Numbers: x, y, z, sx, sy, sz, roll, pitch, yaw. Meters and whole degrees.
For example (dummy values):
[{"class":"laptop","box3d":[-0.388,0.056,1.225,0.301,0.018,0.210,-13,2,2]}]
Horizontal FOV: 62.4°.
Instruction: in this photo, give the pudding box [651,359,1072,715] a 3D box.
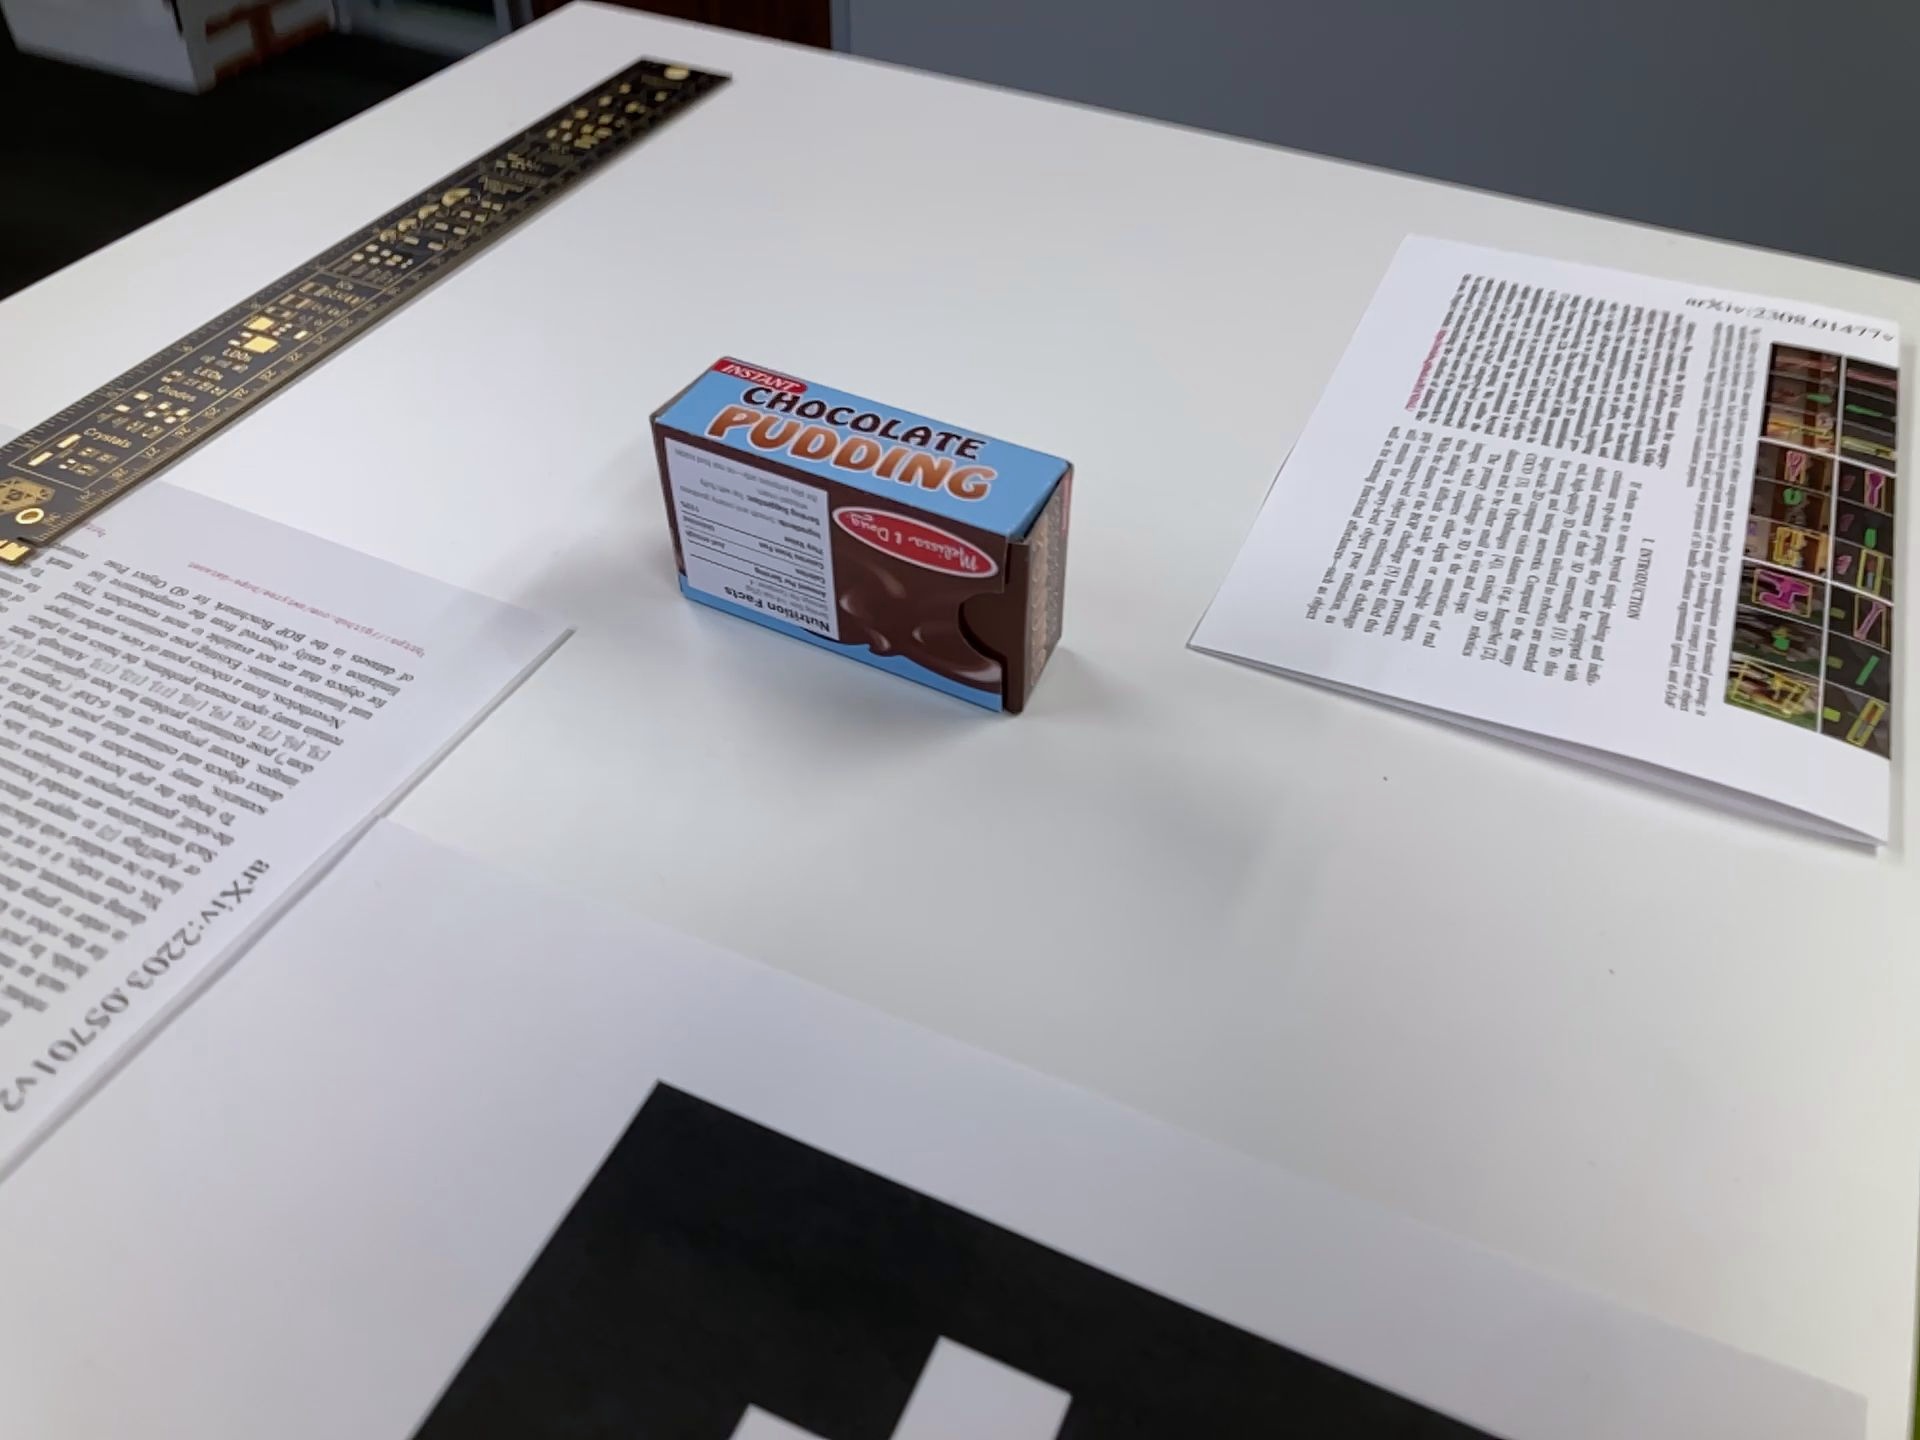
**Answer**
[{"class":"pudding box","box3d":[-0.020,-0.038,0.333,0.083,0.049,0.030,20,48,18]}]
